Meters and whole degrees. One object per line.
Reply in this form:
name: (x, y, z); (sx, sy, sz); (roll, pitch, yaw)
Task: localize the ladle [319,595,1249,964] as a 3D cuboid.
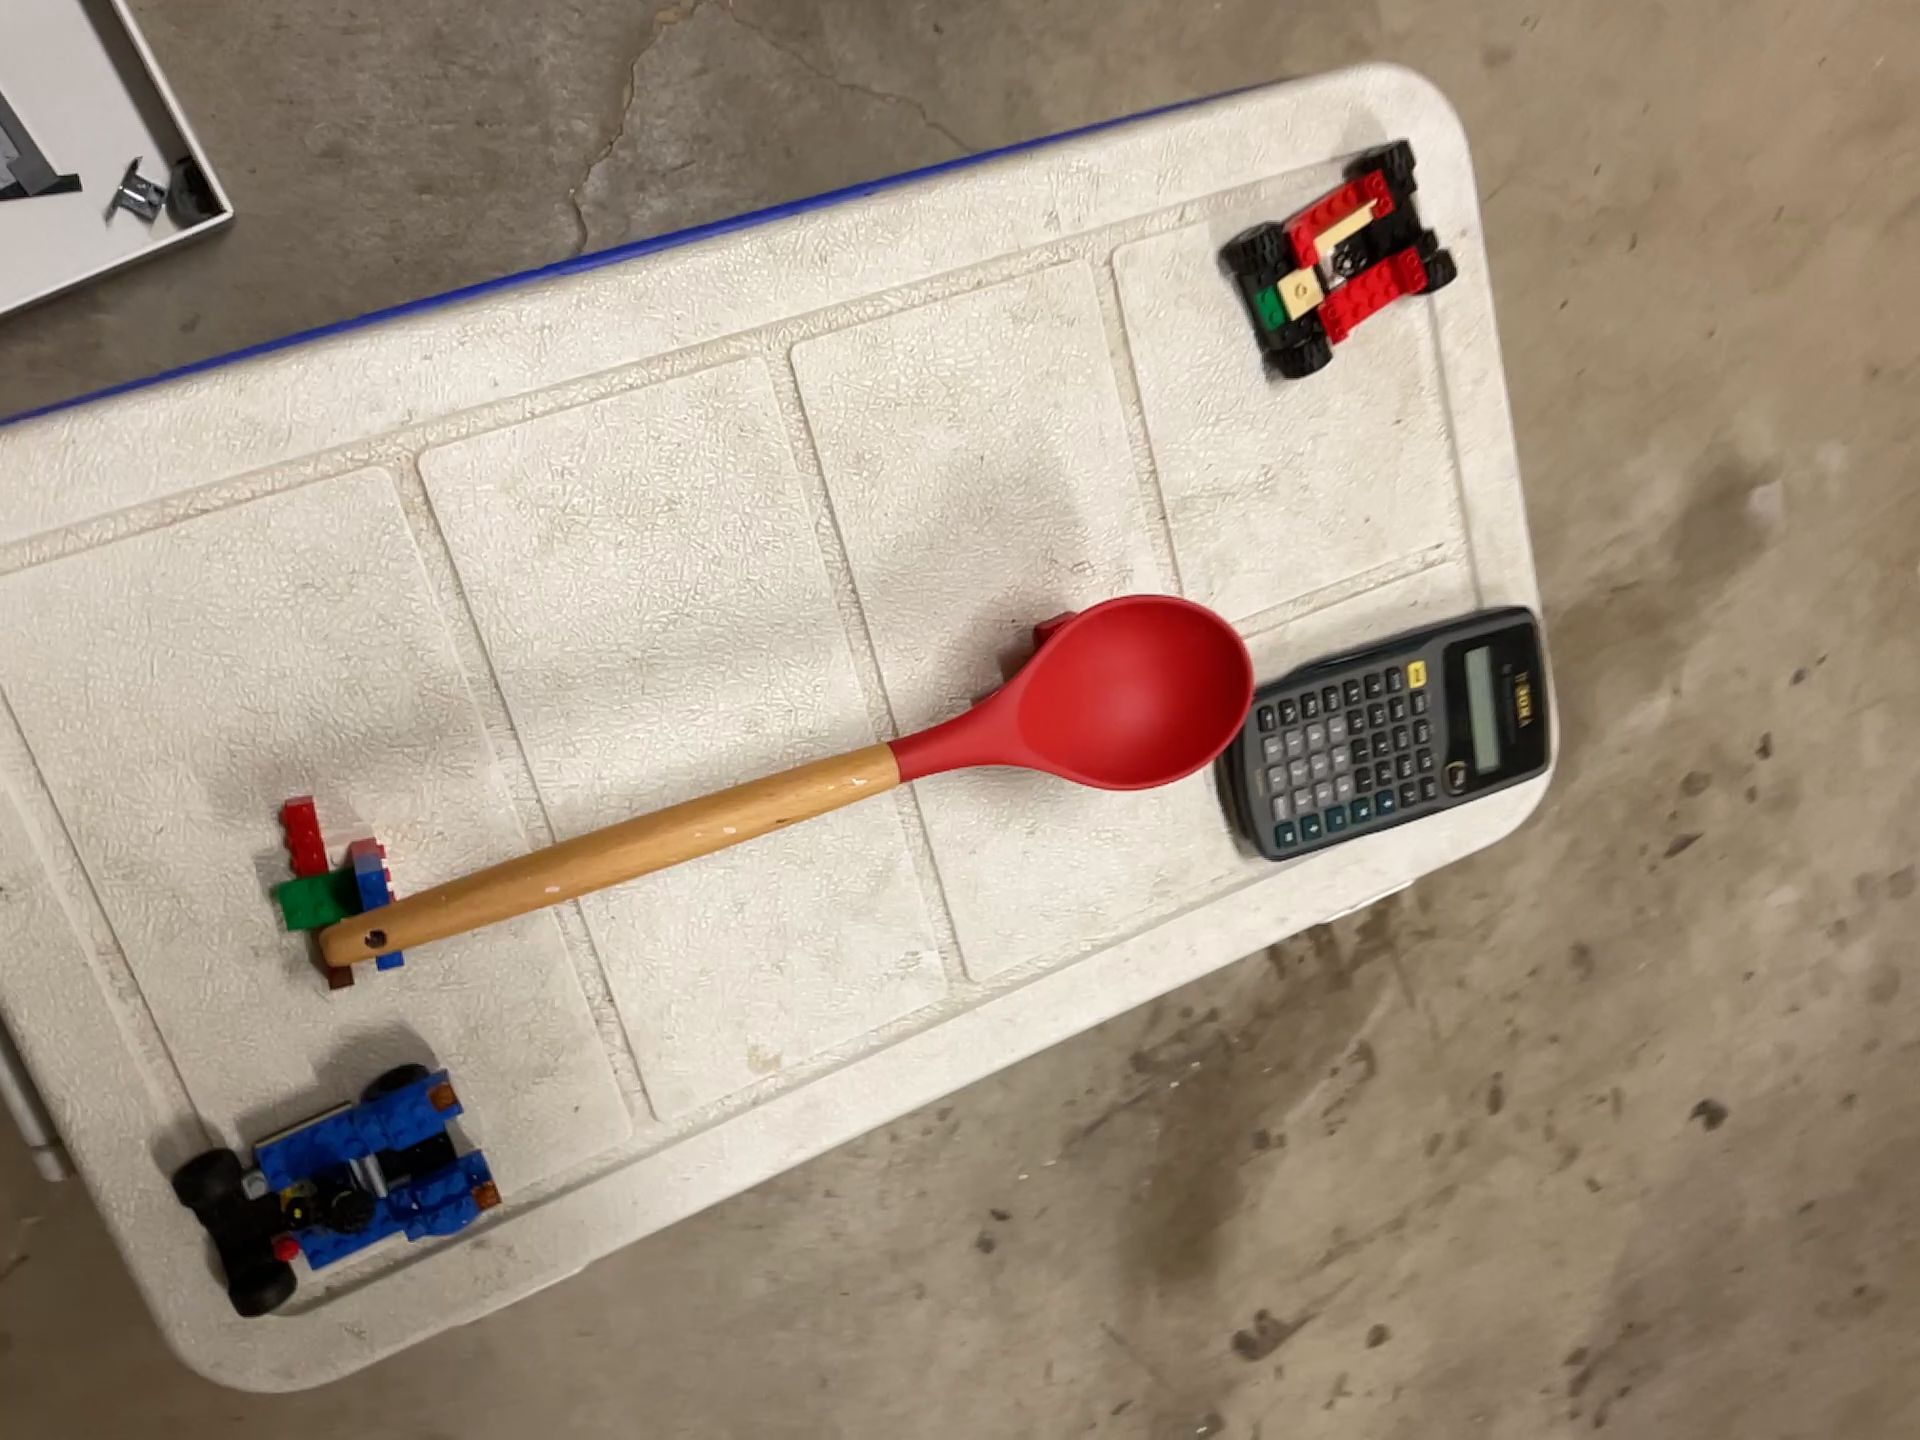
ladle: (-0.047, 0.024, 0.525); (0.315, 0.031, 0.069); (-17, 102, -18)
